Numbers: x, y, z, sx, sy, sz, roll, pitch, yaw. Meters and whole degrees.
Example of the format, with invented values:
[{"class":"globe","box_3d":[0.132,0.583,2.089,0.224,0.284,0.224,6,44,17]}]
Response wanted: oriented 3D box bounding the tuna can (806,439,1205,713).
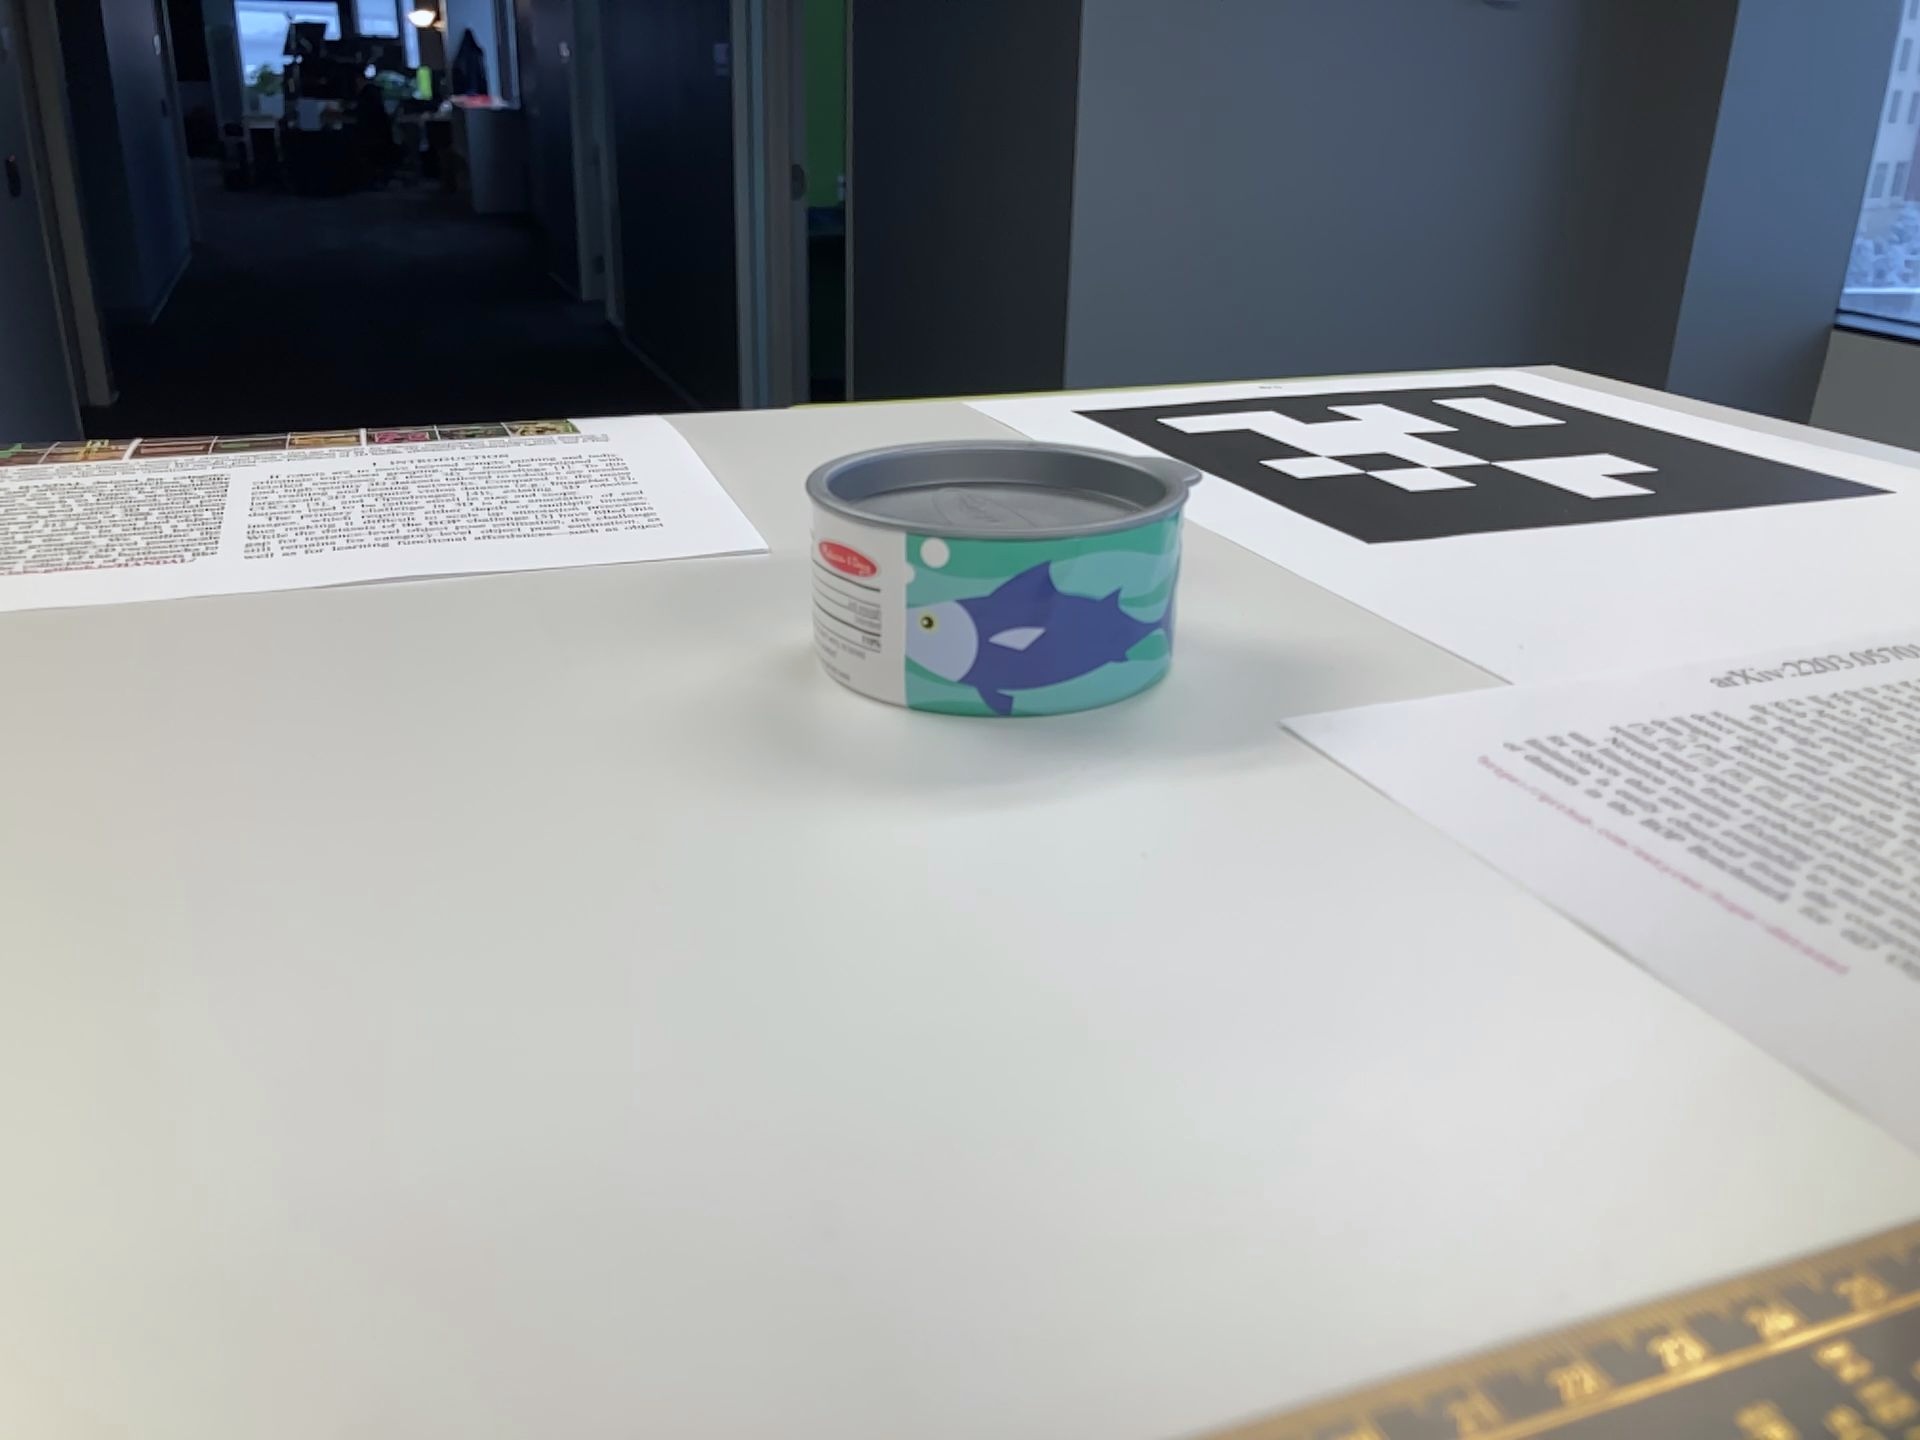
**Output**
[{"class":"tuna can","box_3d":[0.008,-0.027,0.280,0.071,0.033,0.071,1,21,0]}]
